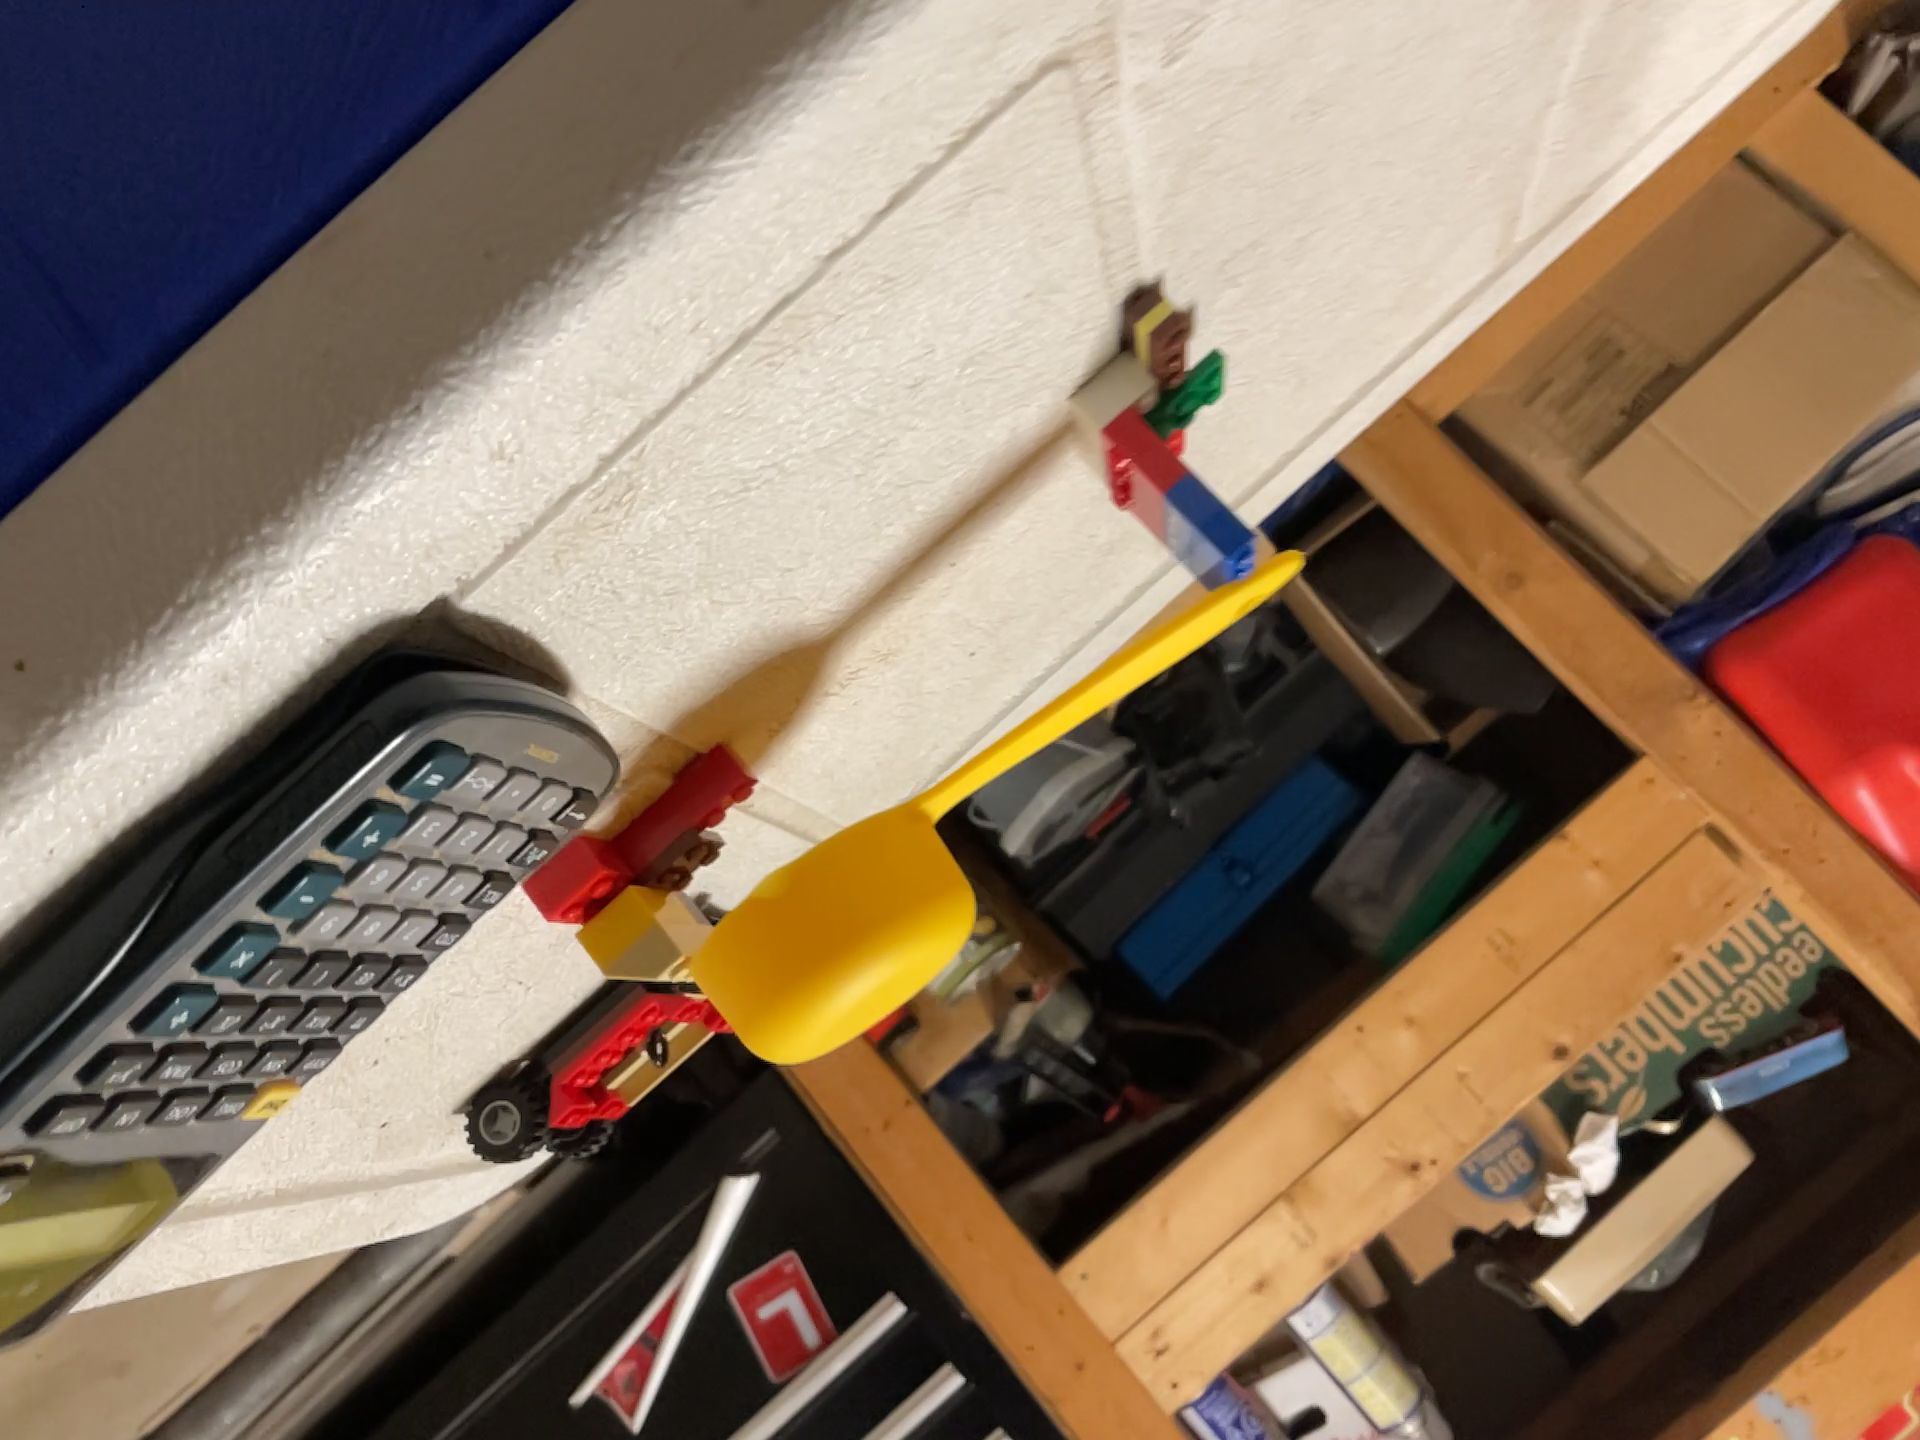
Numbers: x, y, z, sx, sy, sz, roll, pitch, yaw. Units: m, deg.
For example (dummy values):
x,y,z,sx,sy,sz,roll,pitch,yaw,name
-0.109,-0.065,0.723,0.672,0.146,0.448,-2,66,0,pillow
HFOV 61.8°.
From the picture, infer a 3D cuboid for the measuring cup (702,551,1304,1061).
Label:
x,y,z,sx,sy,sz,roll,pitch,yaw,name
0.016,0.019,0.340,0.156,0.029,0.062,-36,165,1,measuring cup
